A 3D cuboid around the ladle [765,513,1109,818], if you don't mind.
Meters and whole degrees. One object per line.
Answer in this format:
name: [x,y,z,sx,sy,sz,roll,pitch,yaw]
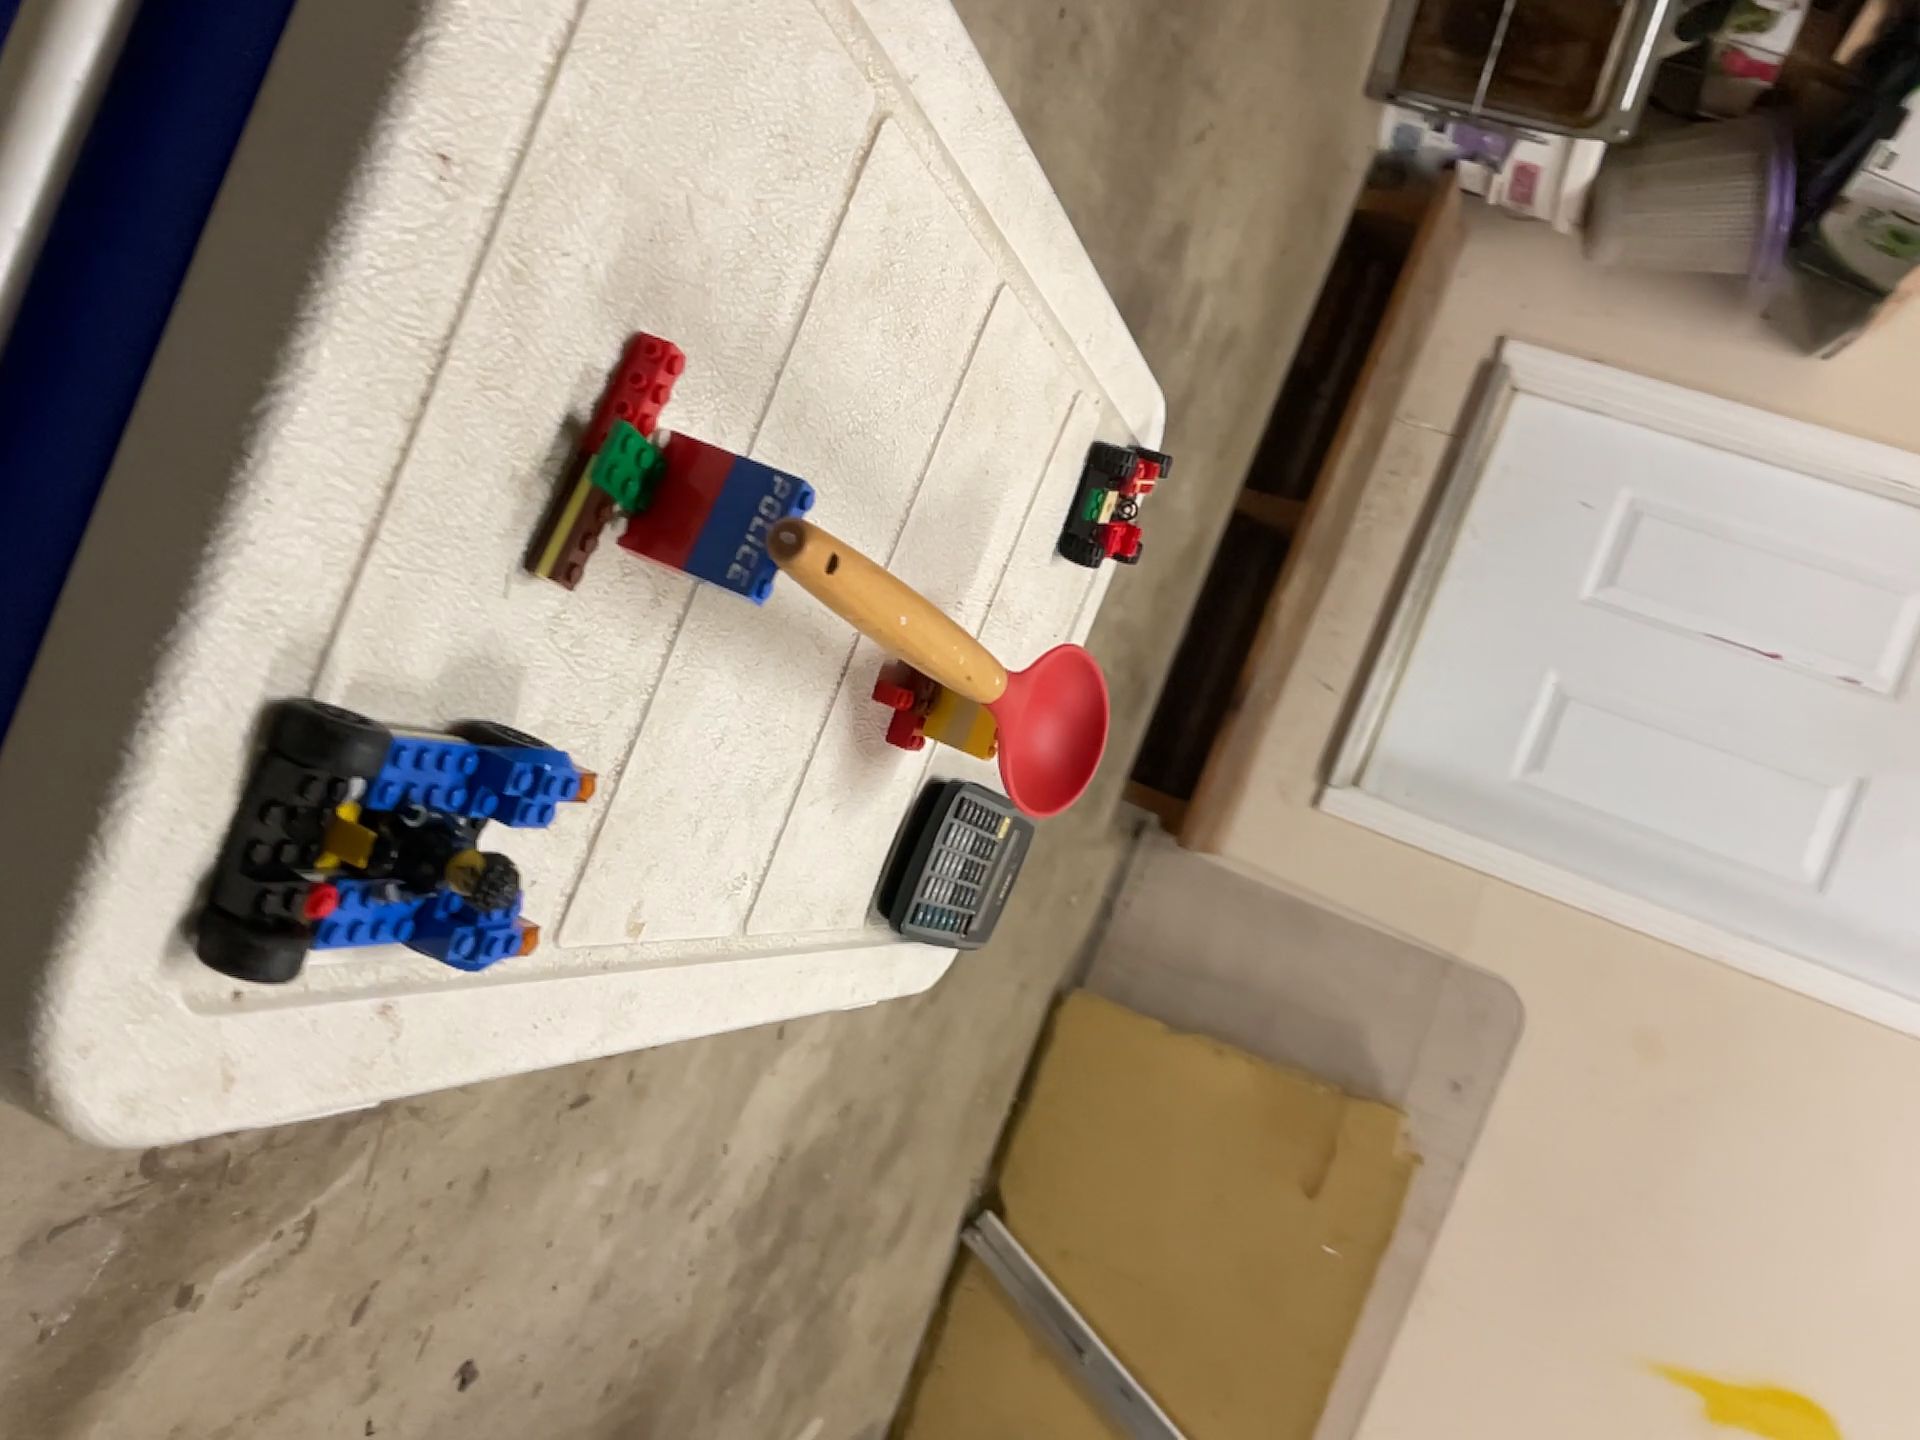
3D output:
ladle: [0.002,-0.016,0.511,0.315,0.031,0.069,32,76,-72]
